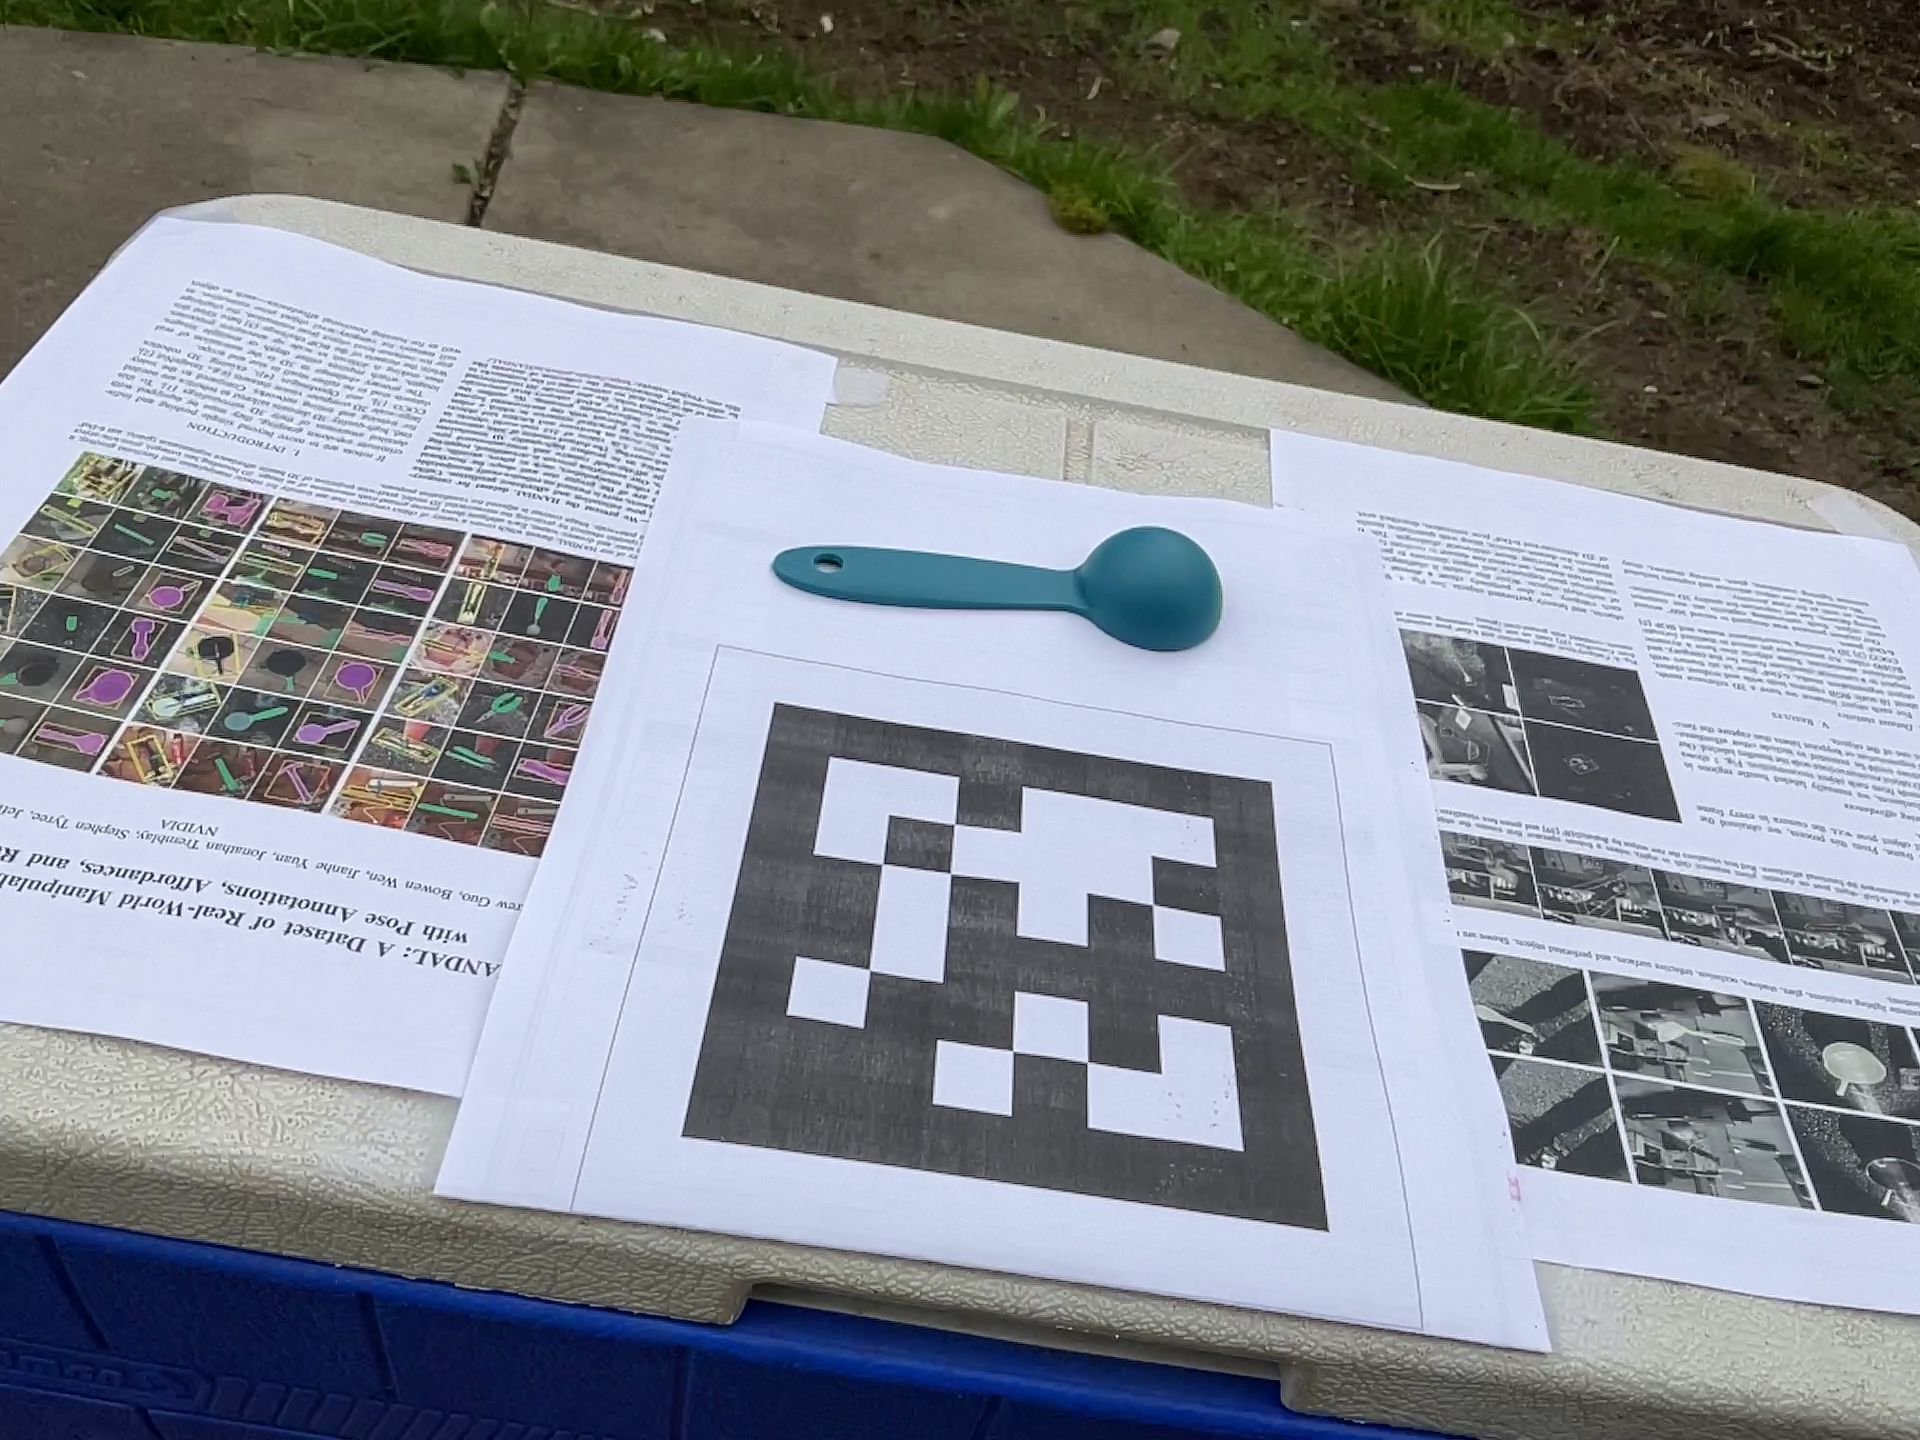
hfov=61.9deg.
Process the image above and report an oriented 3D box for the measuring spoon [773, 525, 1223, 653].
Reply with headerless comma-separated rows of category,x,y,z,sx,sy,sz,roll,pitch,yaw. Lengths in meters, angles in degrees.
measuring spoon,0.013,-0.044,0.446,0.128,0.021,0.042,3,51,-9
